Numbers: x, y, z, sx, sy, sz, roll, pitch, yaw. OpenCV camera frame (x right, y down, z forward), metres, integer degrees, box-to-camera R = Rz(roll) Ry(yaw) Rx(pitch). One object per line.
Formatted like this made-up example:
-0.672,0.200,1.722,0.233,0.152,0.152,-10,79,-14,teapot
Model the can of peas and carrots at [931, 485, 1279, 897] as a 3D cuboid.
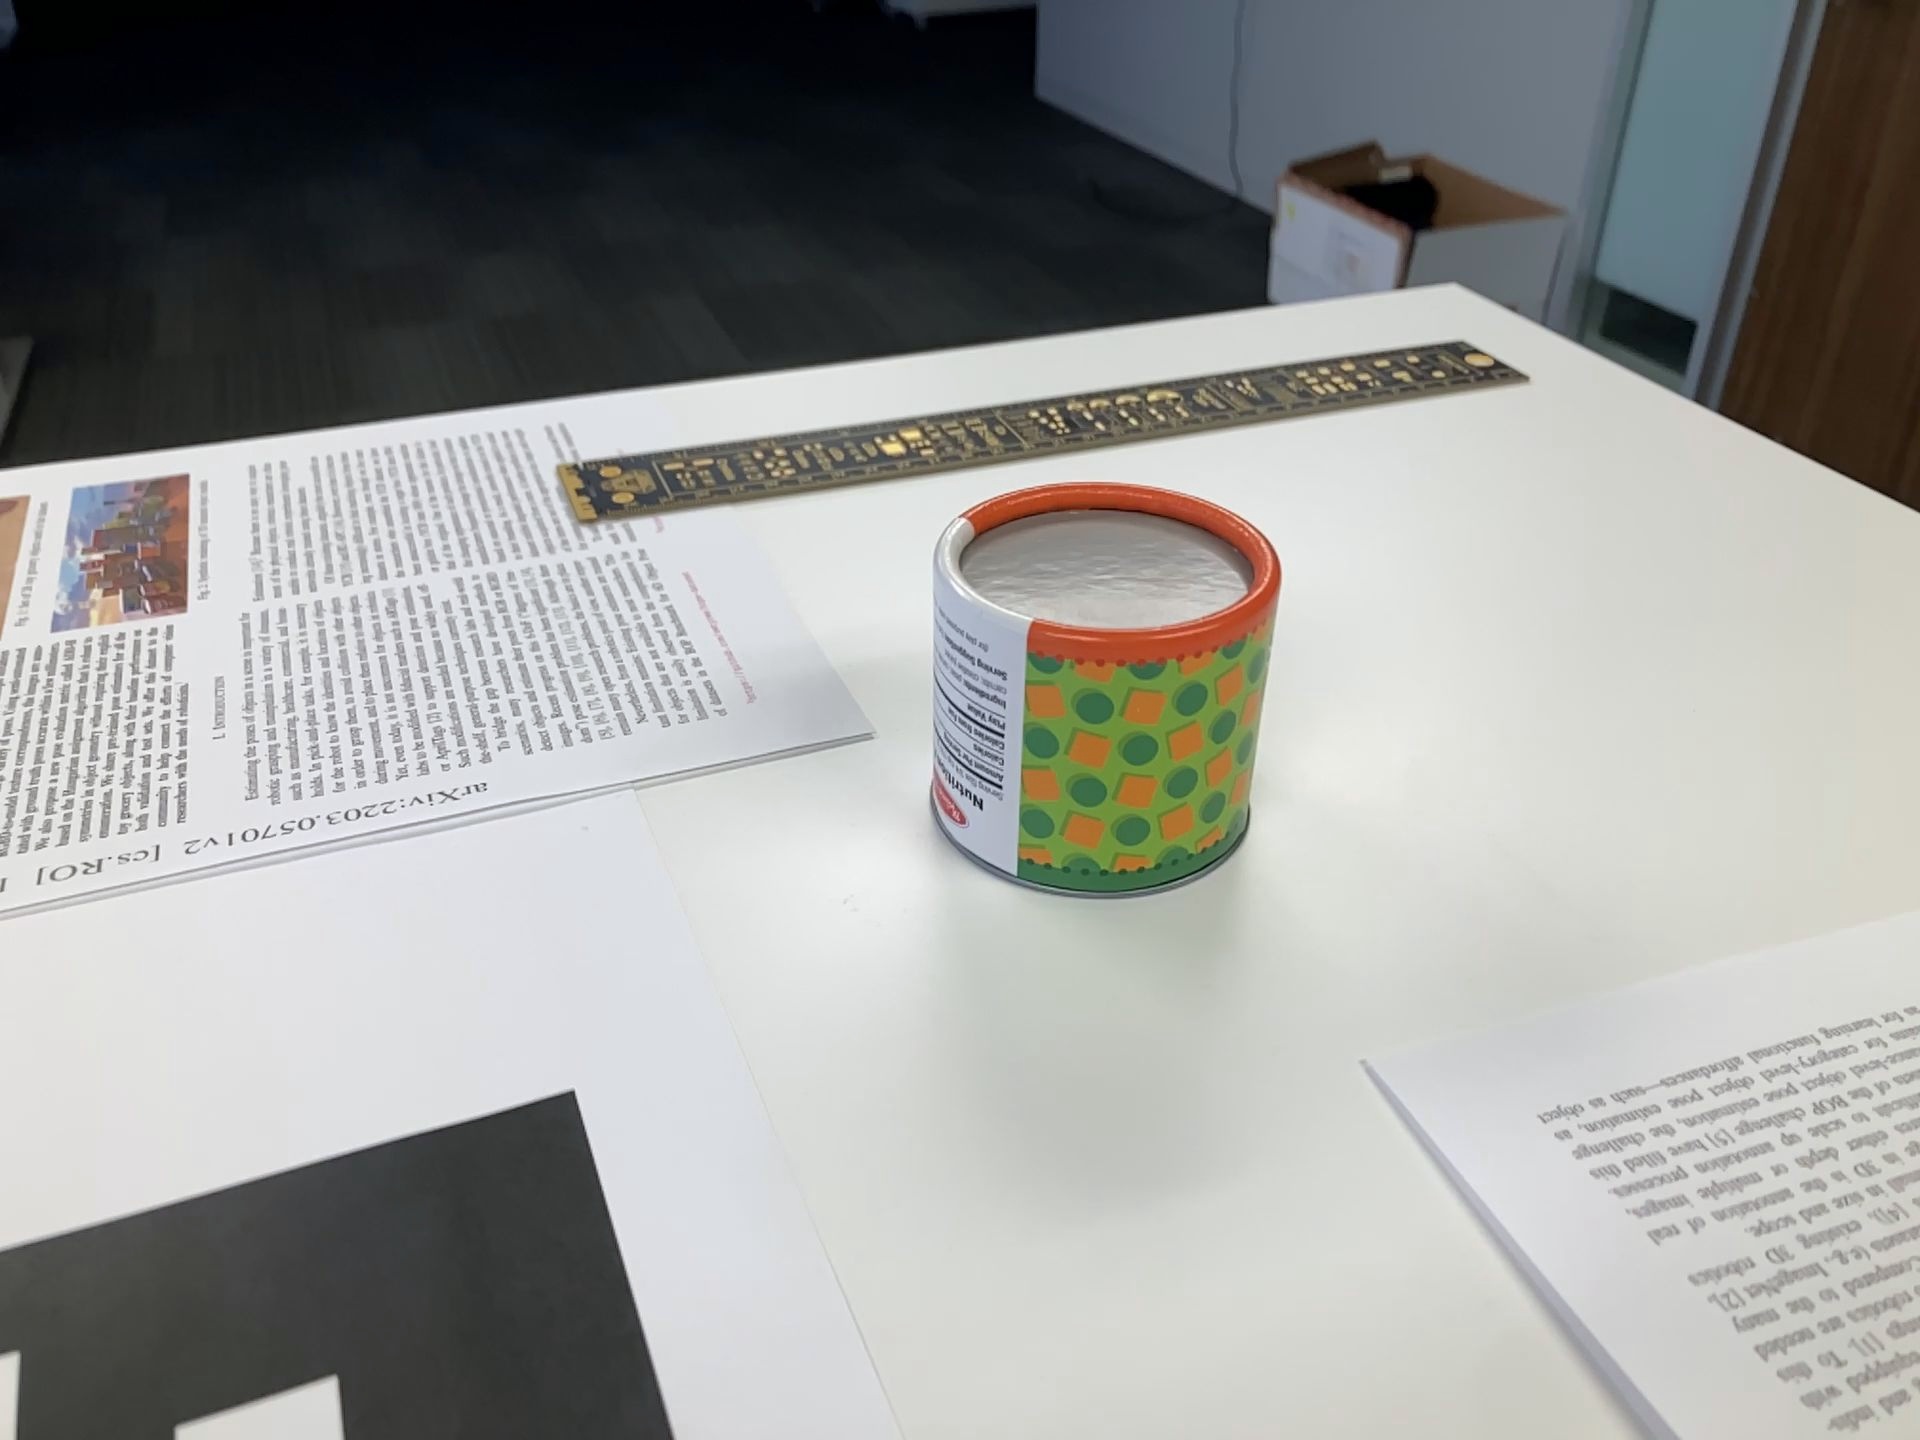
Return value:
0.030,-0.008,0.320,0.071,0.059,0.071,1,34,-1,can of peas and carrots
